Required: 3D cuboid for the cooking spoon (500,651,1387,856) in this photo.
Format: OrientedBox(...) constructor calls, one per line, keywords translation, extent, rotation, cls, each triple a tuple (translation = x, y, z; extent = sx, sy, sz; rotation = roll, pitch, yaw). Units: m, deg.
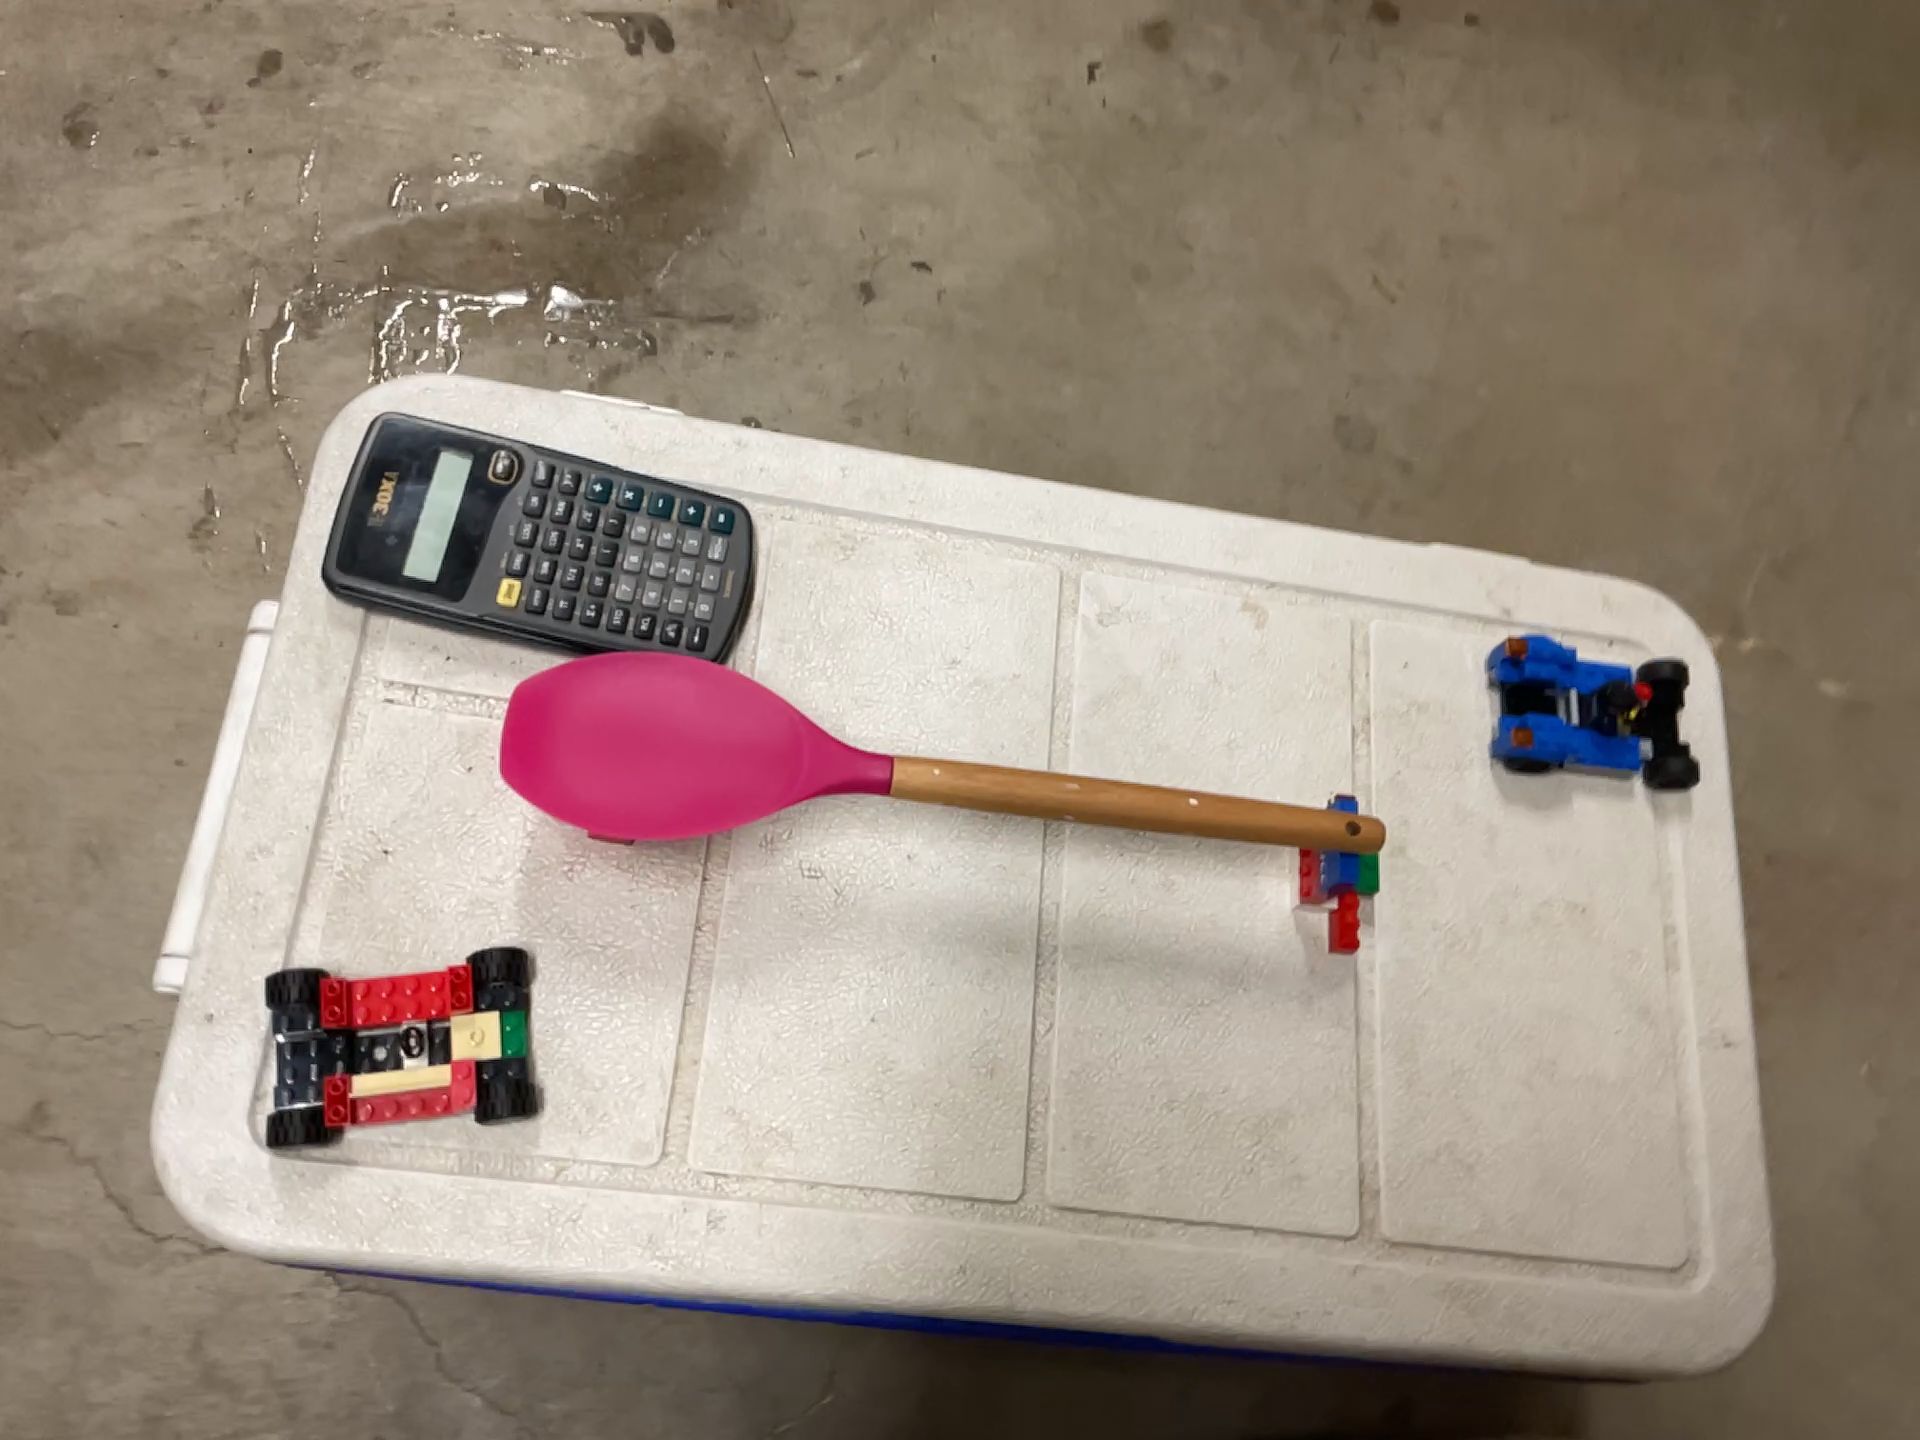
OrientedBox(translation=(0.000, 0.024, 0.569), extent=(0.319, 0.017, 0.069), rotation=(7, 69, -8), cls="cooking spoon")
